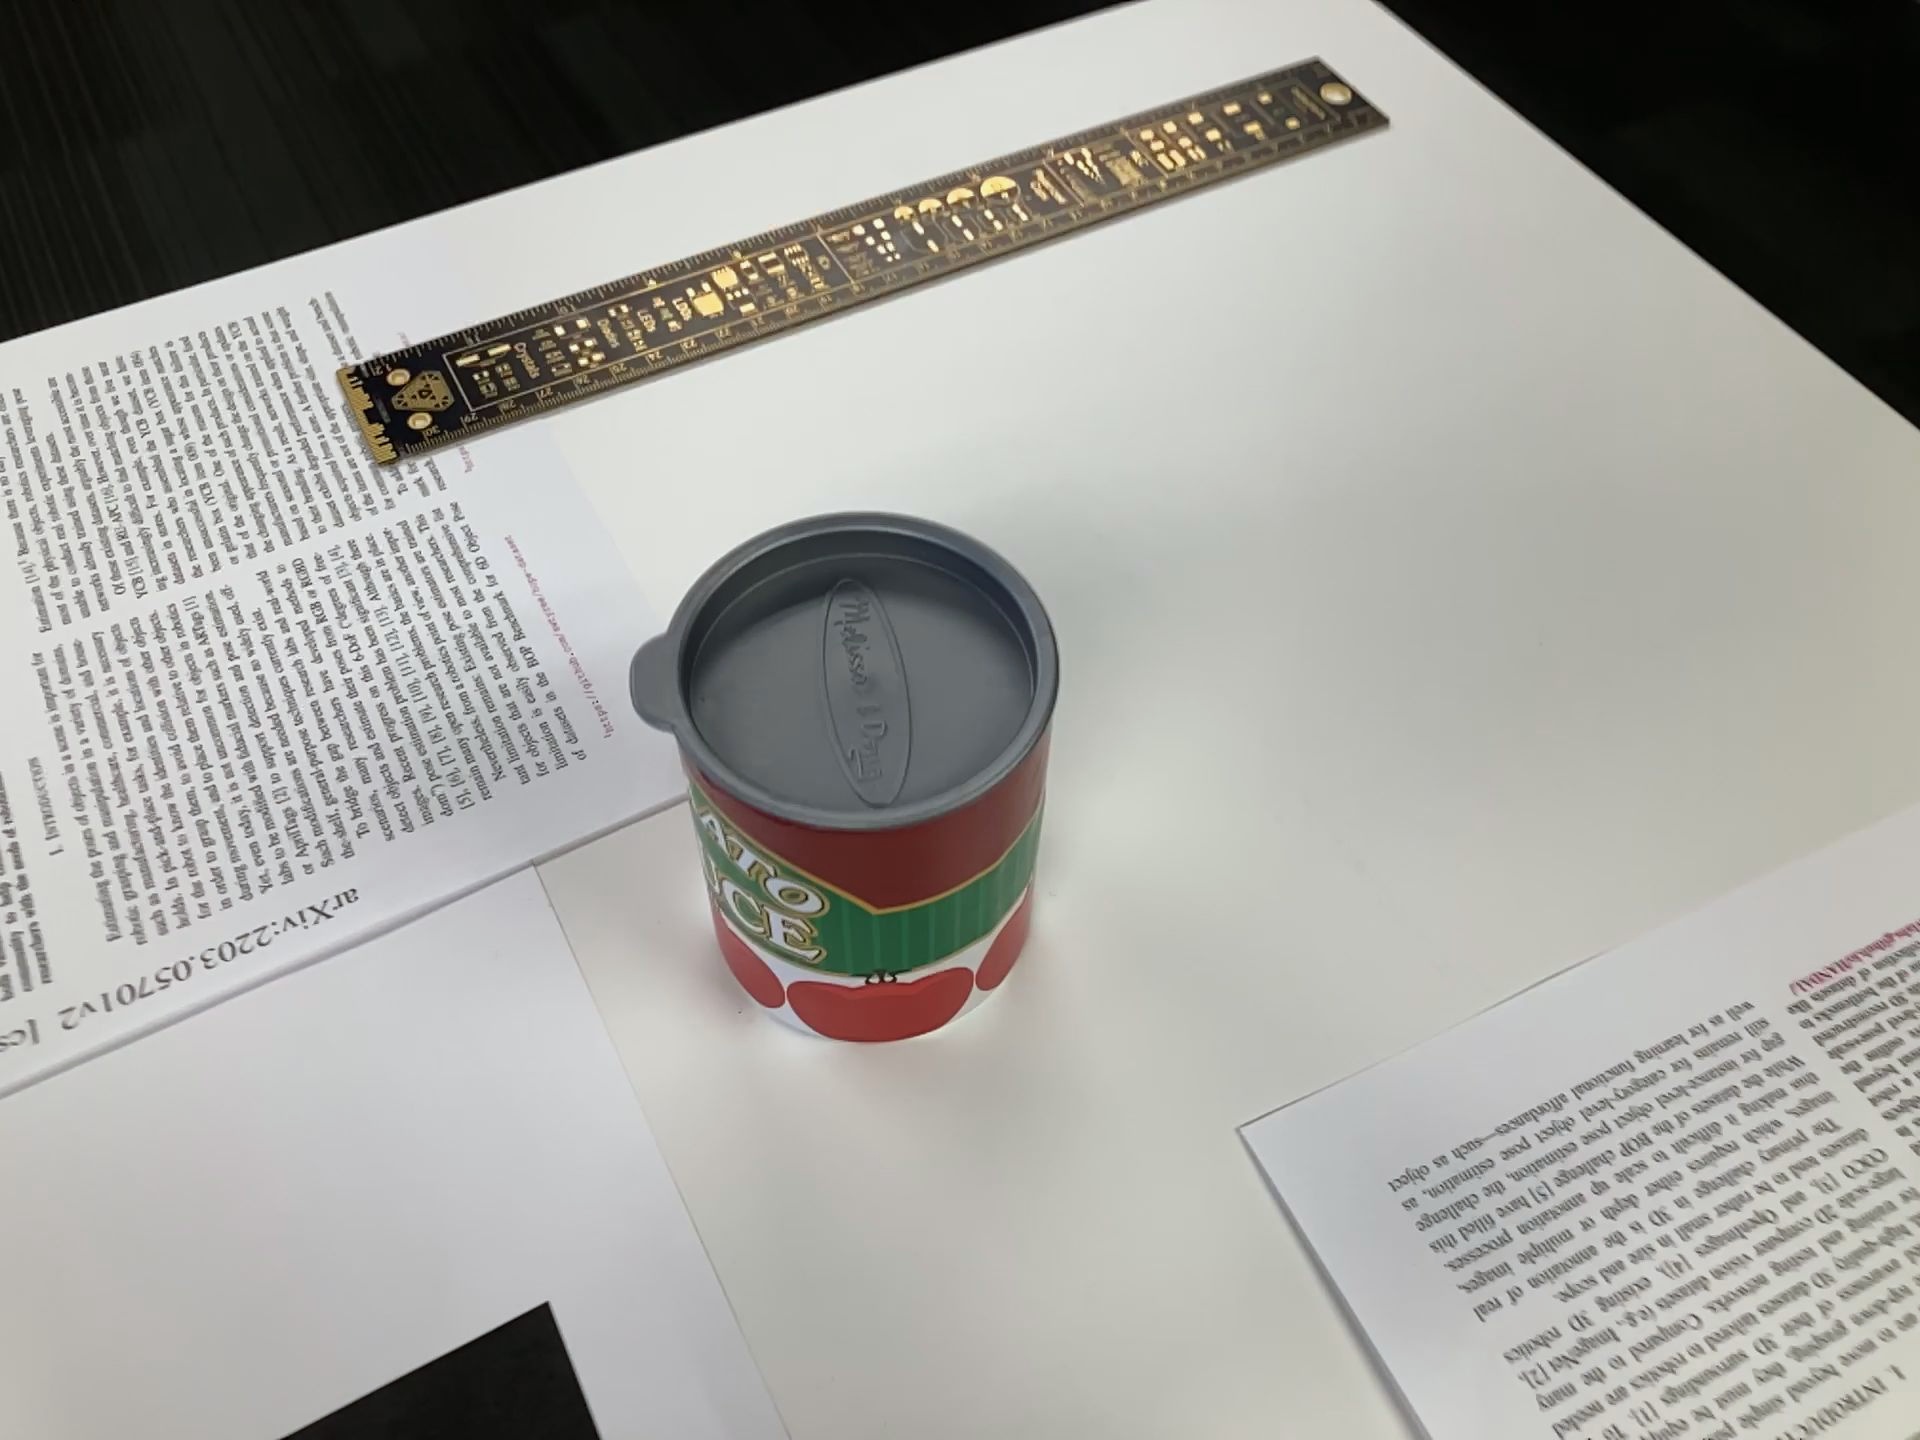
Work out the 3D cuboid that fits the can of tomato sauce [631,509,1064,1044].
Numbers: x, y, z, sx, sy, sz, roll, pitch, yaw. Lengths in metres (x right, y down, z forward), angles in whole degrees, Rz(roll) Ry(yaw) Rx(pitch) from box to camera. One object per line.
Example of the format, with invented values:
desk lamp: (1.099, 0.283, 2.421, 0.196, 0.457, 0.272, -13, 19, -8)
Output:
can of tomato sauce: (-0.019, 0.014, 0.295, 0.071, 0.083, 0.071, 1, 54, -1)
